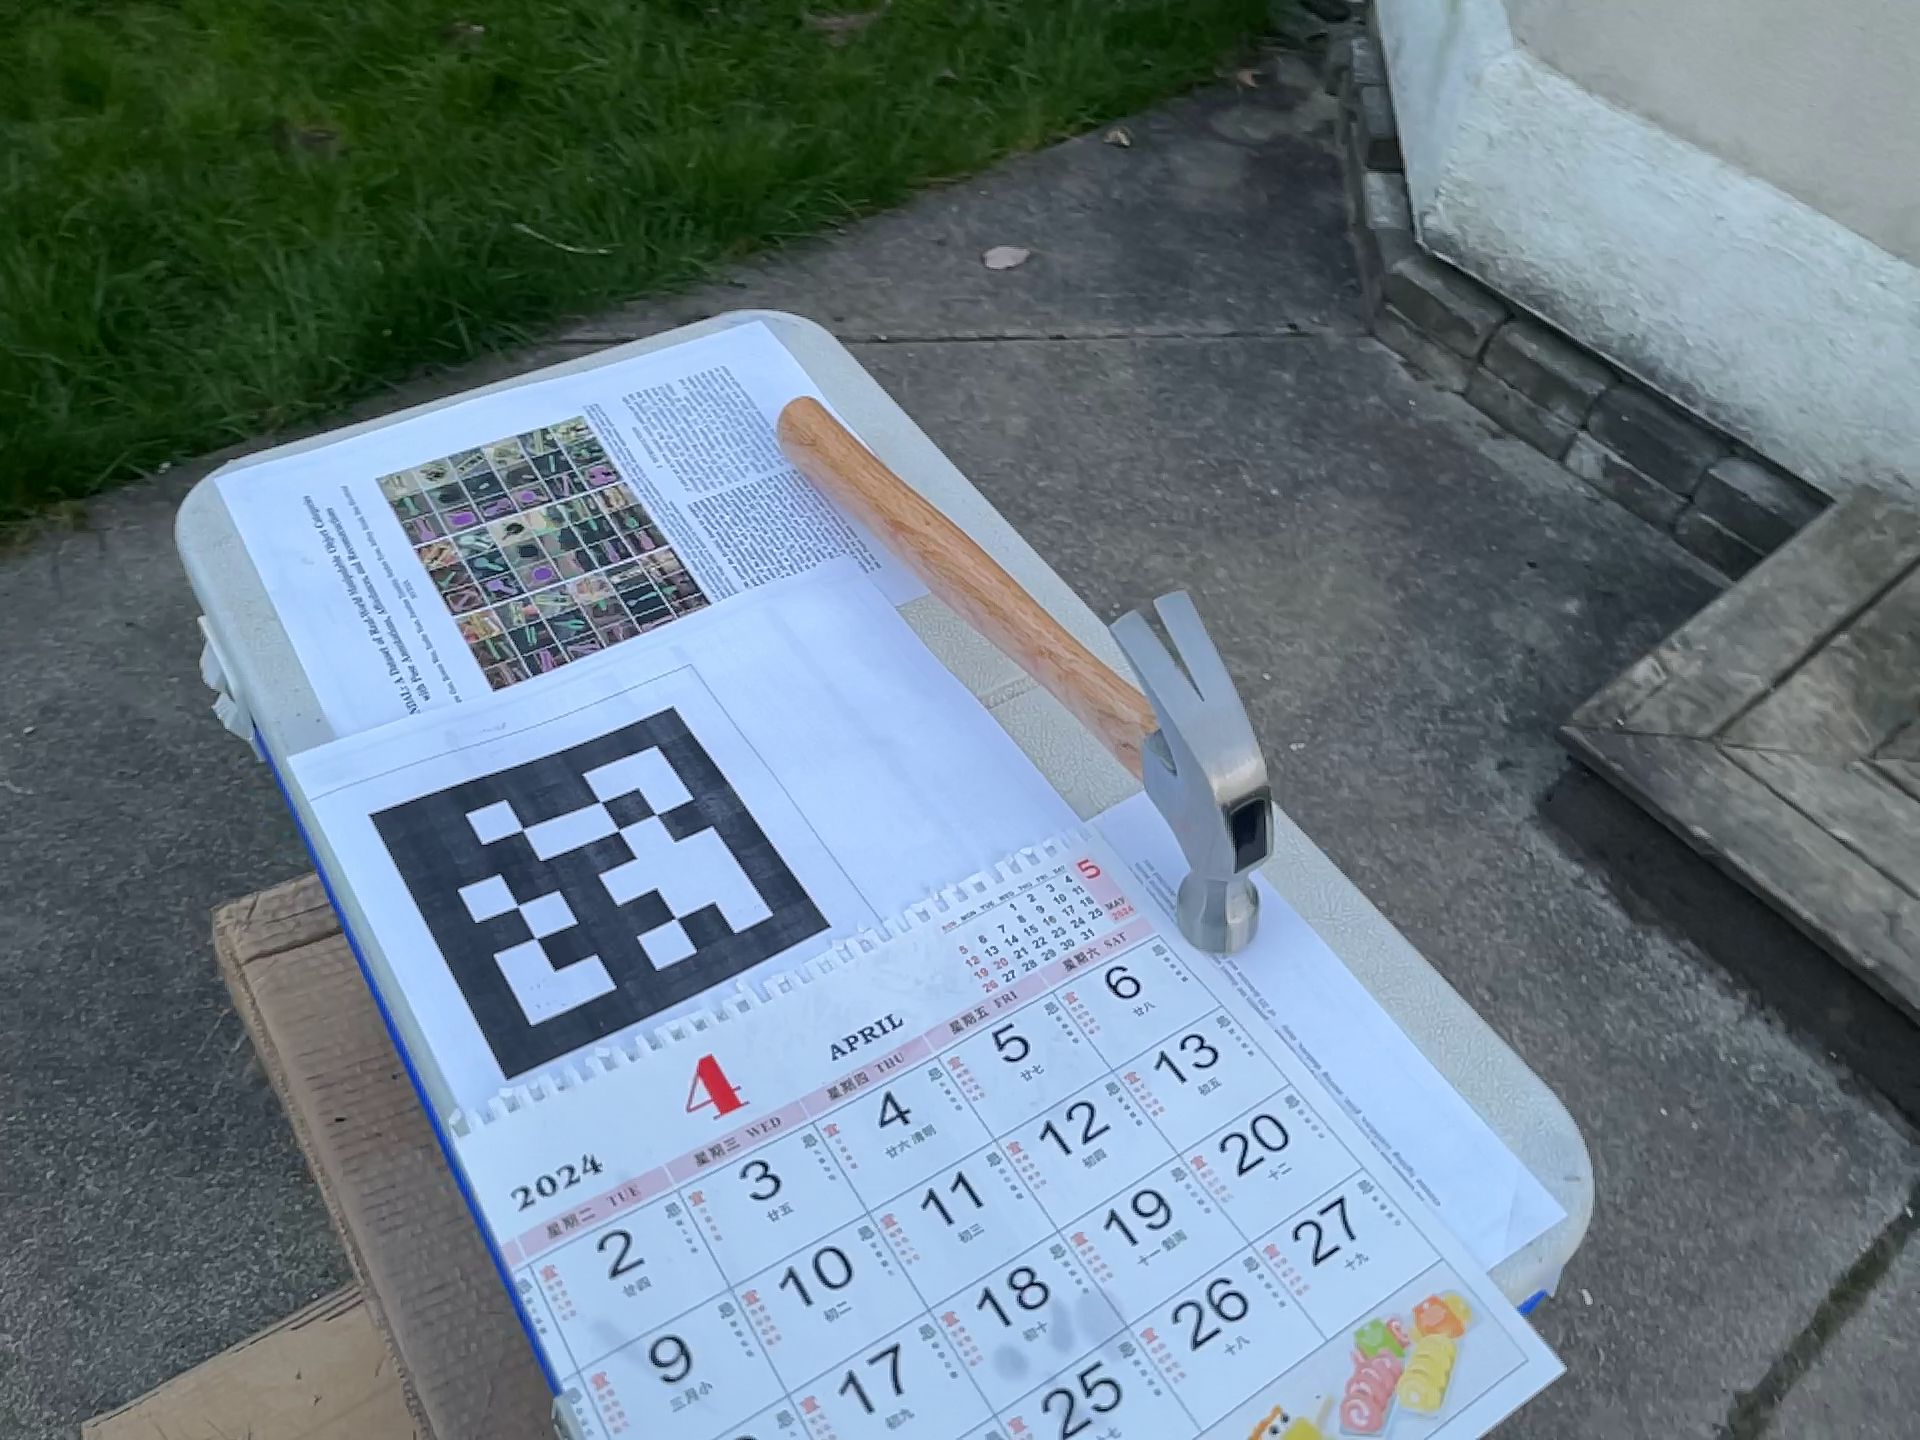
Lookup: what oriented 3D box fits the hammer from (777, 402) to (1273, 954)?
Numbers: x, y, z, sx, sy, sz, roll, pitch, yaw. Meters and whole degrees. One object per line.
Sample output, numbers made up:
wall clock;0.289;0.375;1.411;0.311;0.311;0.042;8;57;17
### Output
hammer;0.012;-0.051;0.640;0.031;0.130;0.331;-27;48;-20
